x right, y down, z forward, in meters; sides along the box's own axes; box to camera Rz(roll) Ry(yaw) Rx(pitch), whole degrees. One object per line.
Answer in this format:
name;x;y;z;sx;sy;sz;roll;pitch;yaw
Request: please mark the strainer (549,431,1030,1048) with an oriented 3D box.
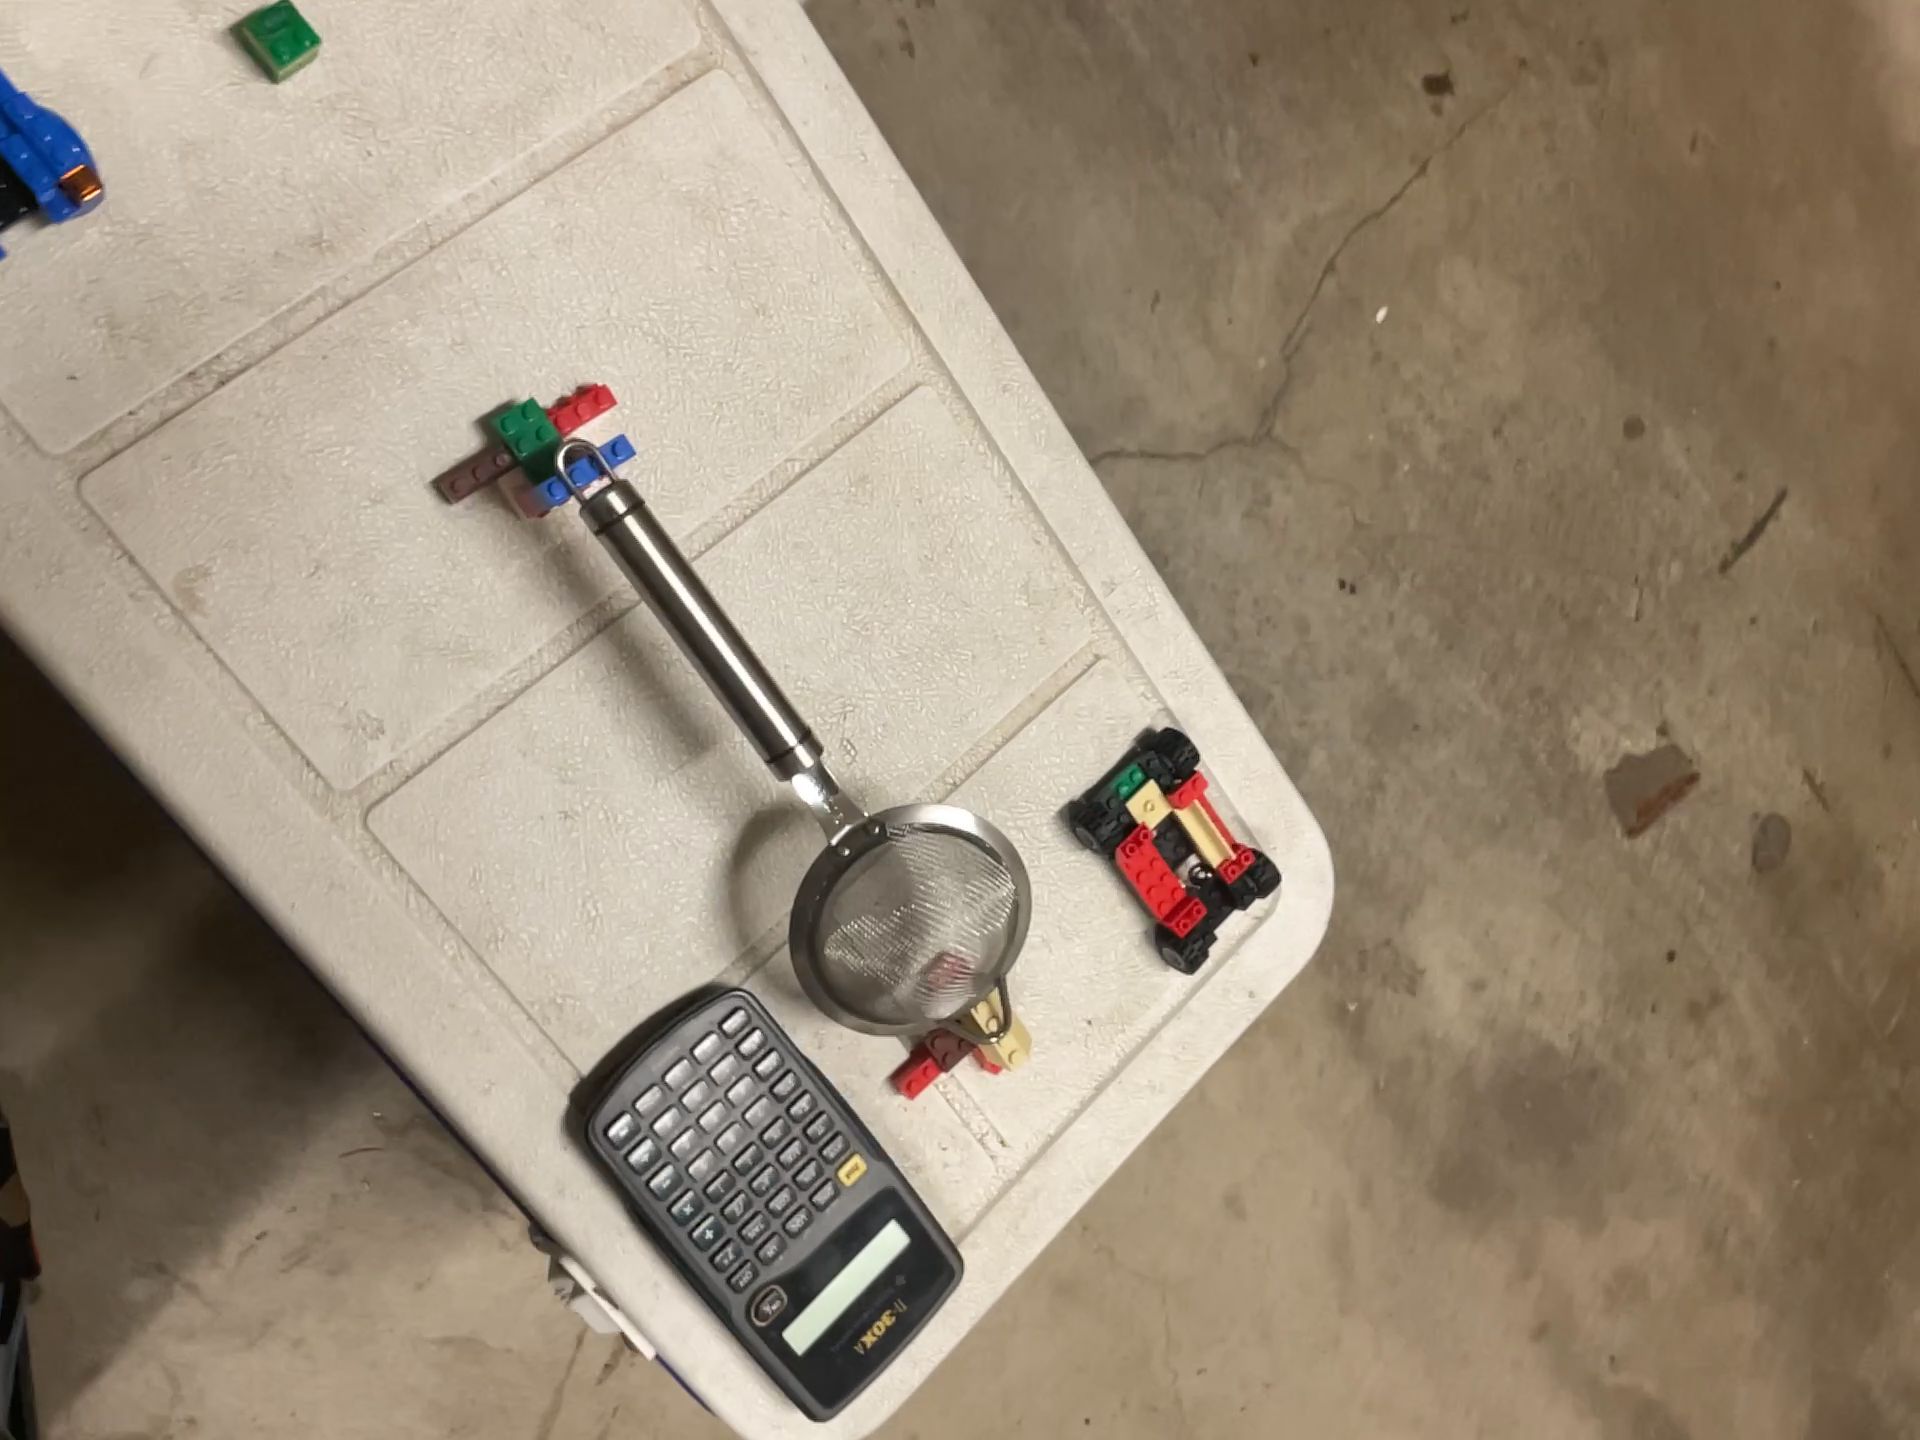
strainer;-0.052;0.017;0.518;0.087;0.050;0.258;-36;105;-5
